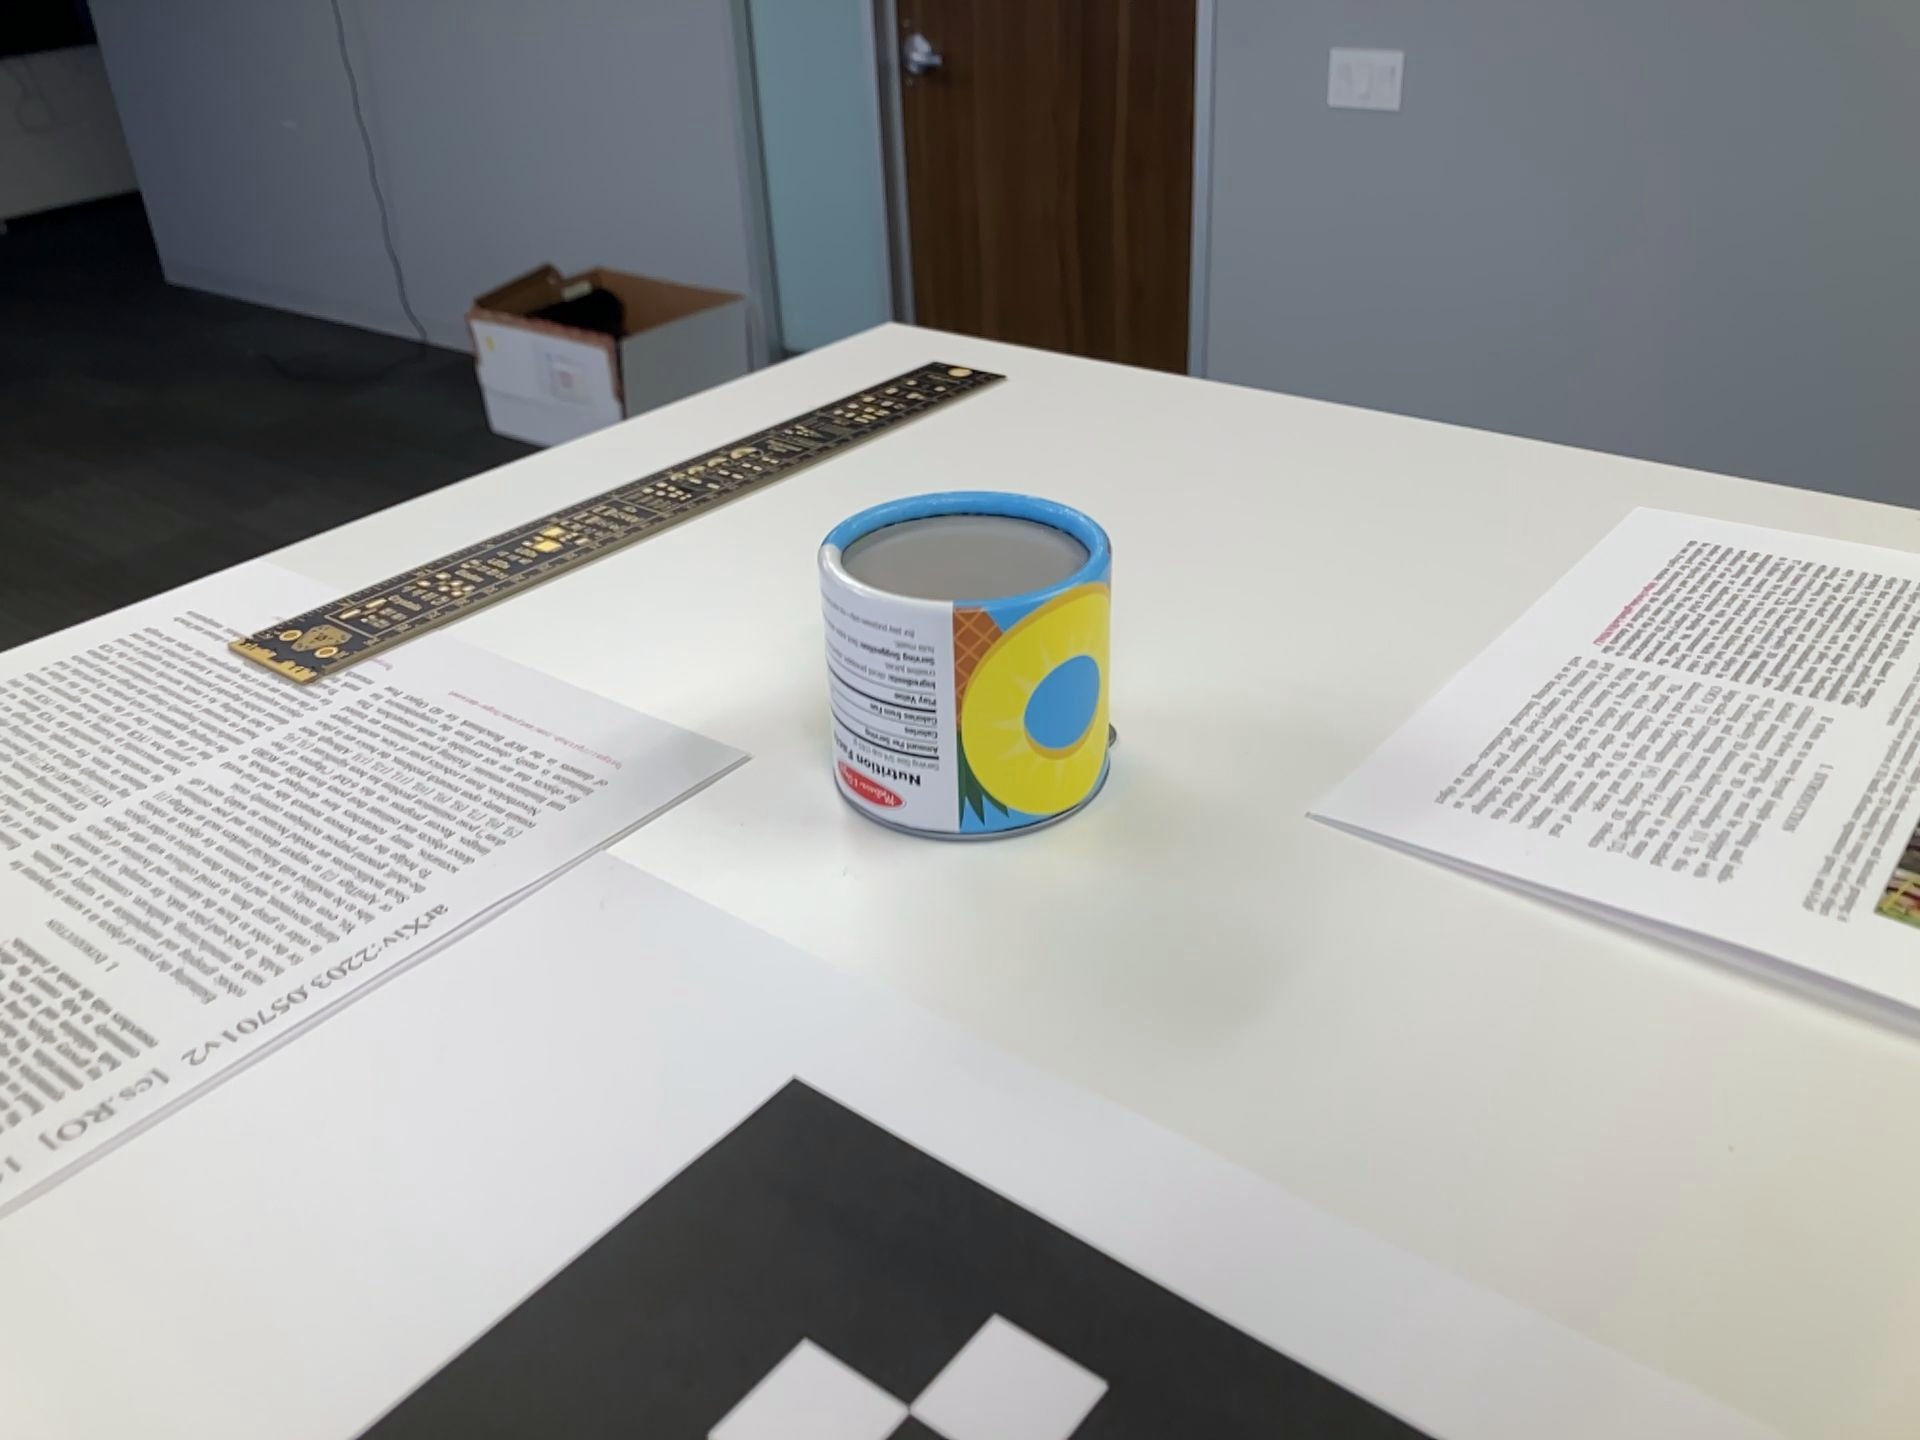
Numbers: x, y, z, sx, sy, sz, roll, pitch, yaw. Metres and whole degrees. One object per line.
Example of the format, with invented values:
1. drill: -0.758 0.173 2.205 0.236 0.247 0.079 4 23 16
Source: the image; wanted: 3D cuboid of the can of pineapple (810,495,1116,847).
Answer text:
1. can of pineapple: 0.002 -0.014 0.362 0.071 0.058 0.071 -2 29 1
